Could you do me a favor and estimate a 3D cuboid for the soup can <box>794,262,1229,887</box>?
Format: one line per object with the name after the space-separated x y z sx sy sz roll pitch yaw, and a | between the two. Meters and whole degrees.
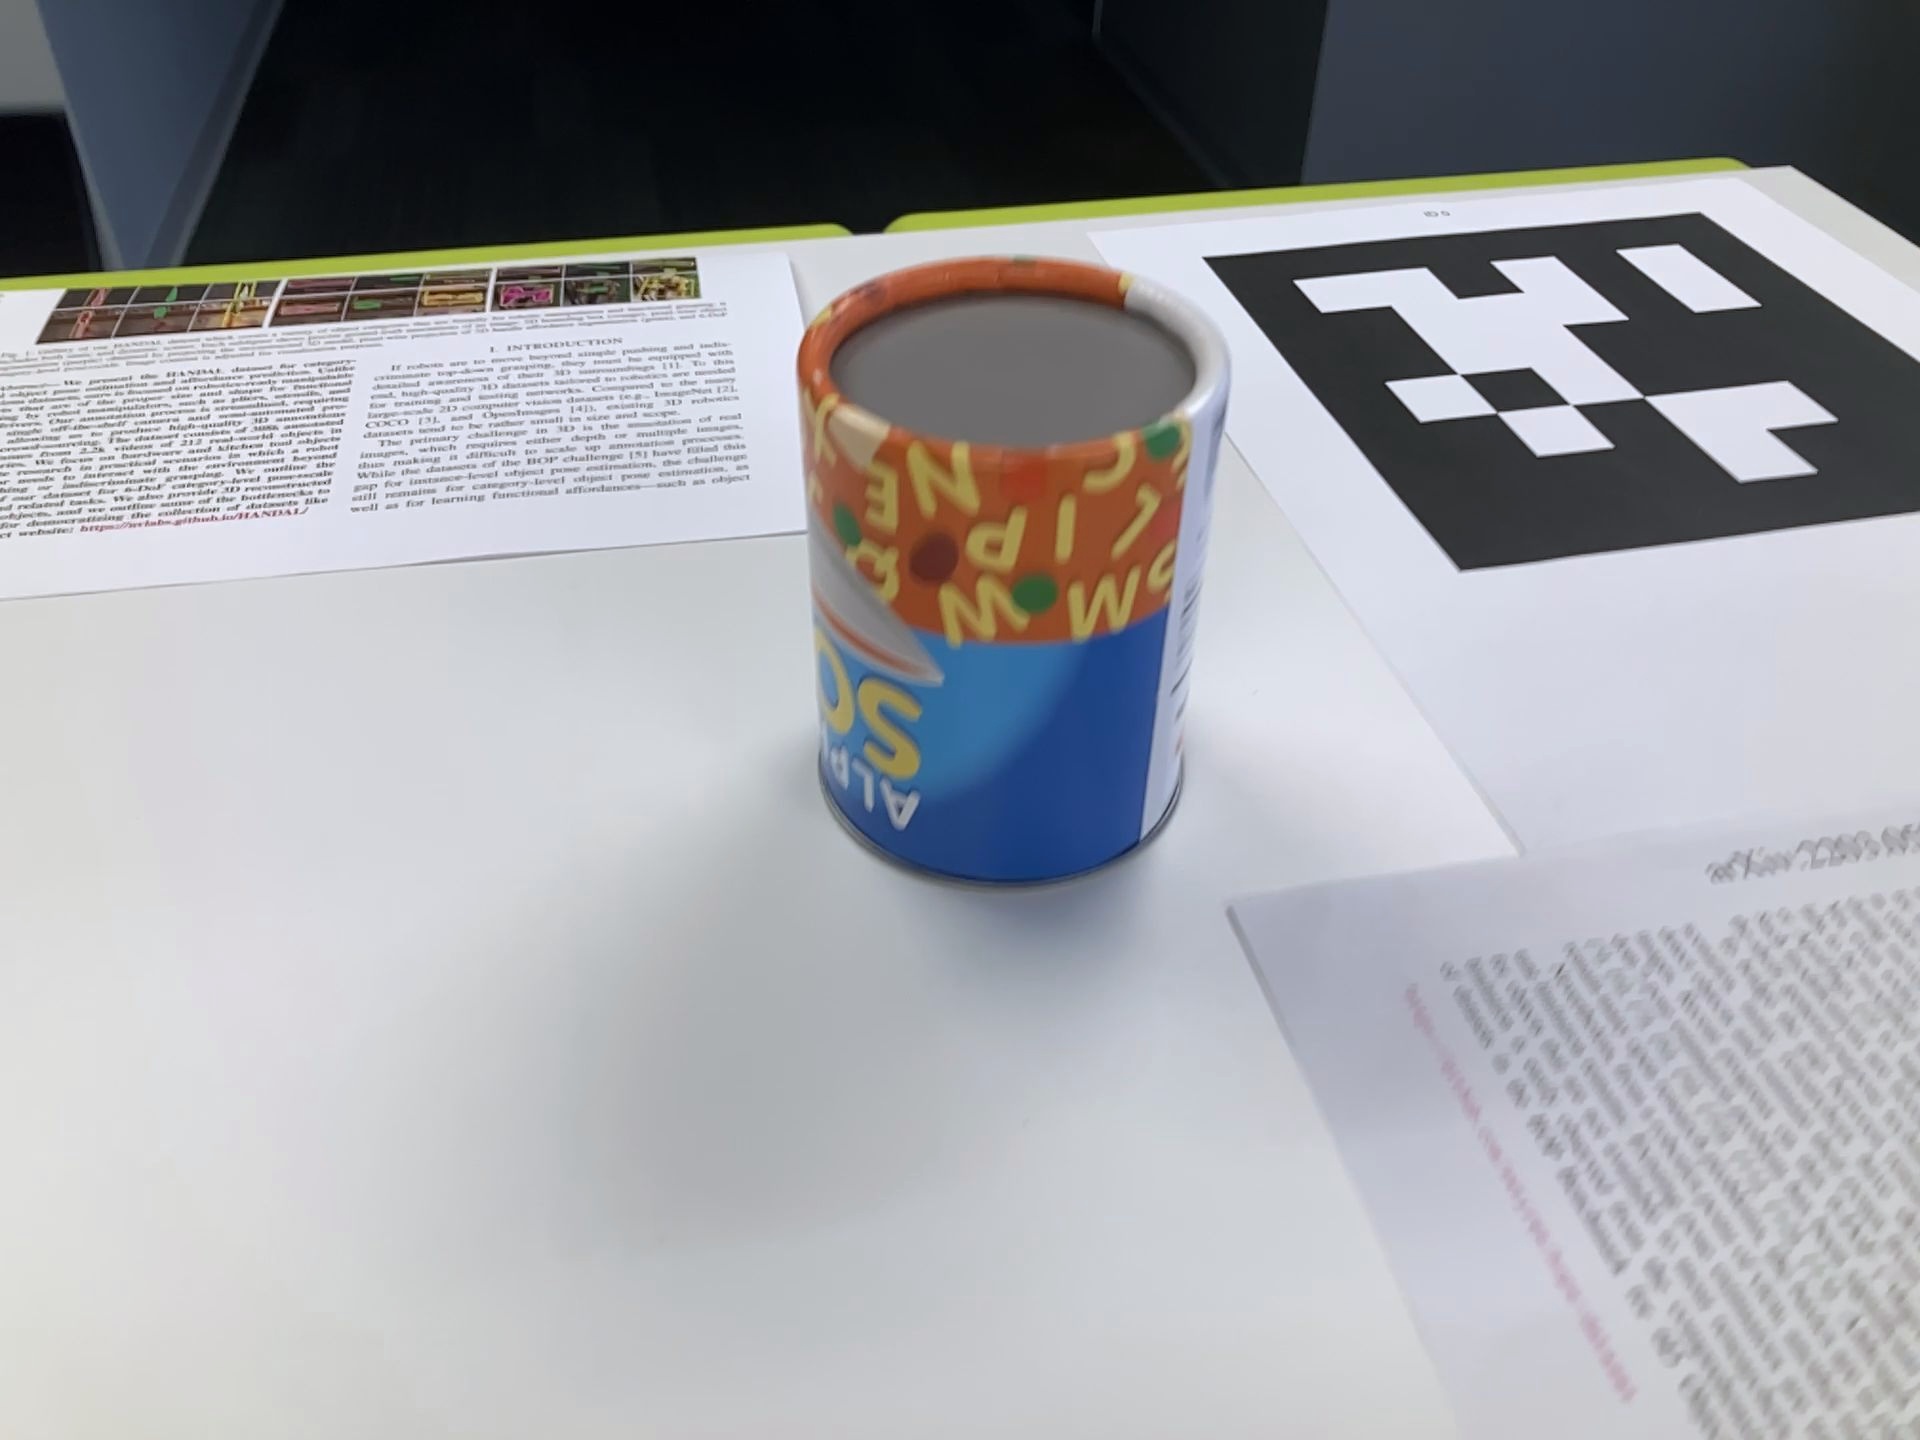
0.005 -0.024 0.266 0.071 0.084 0.071 0 39 0 | soup can
